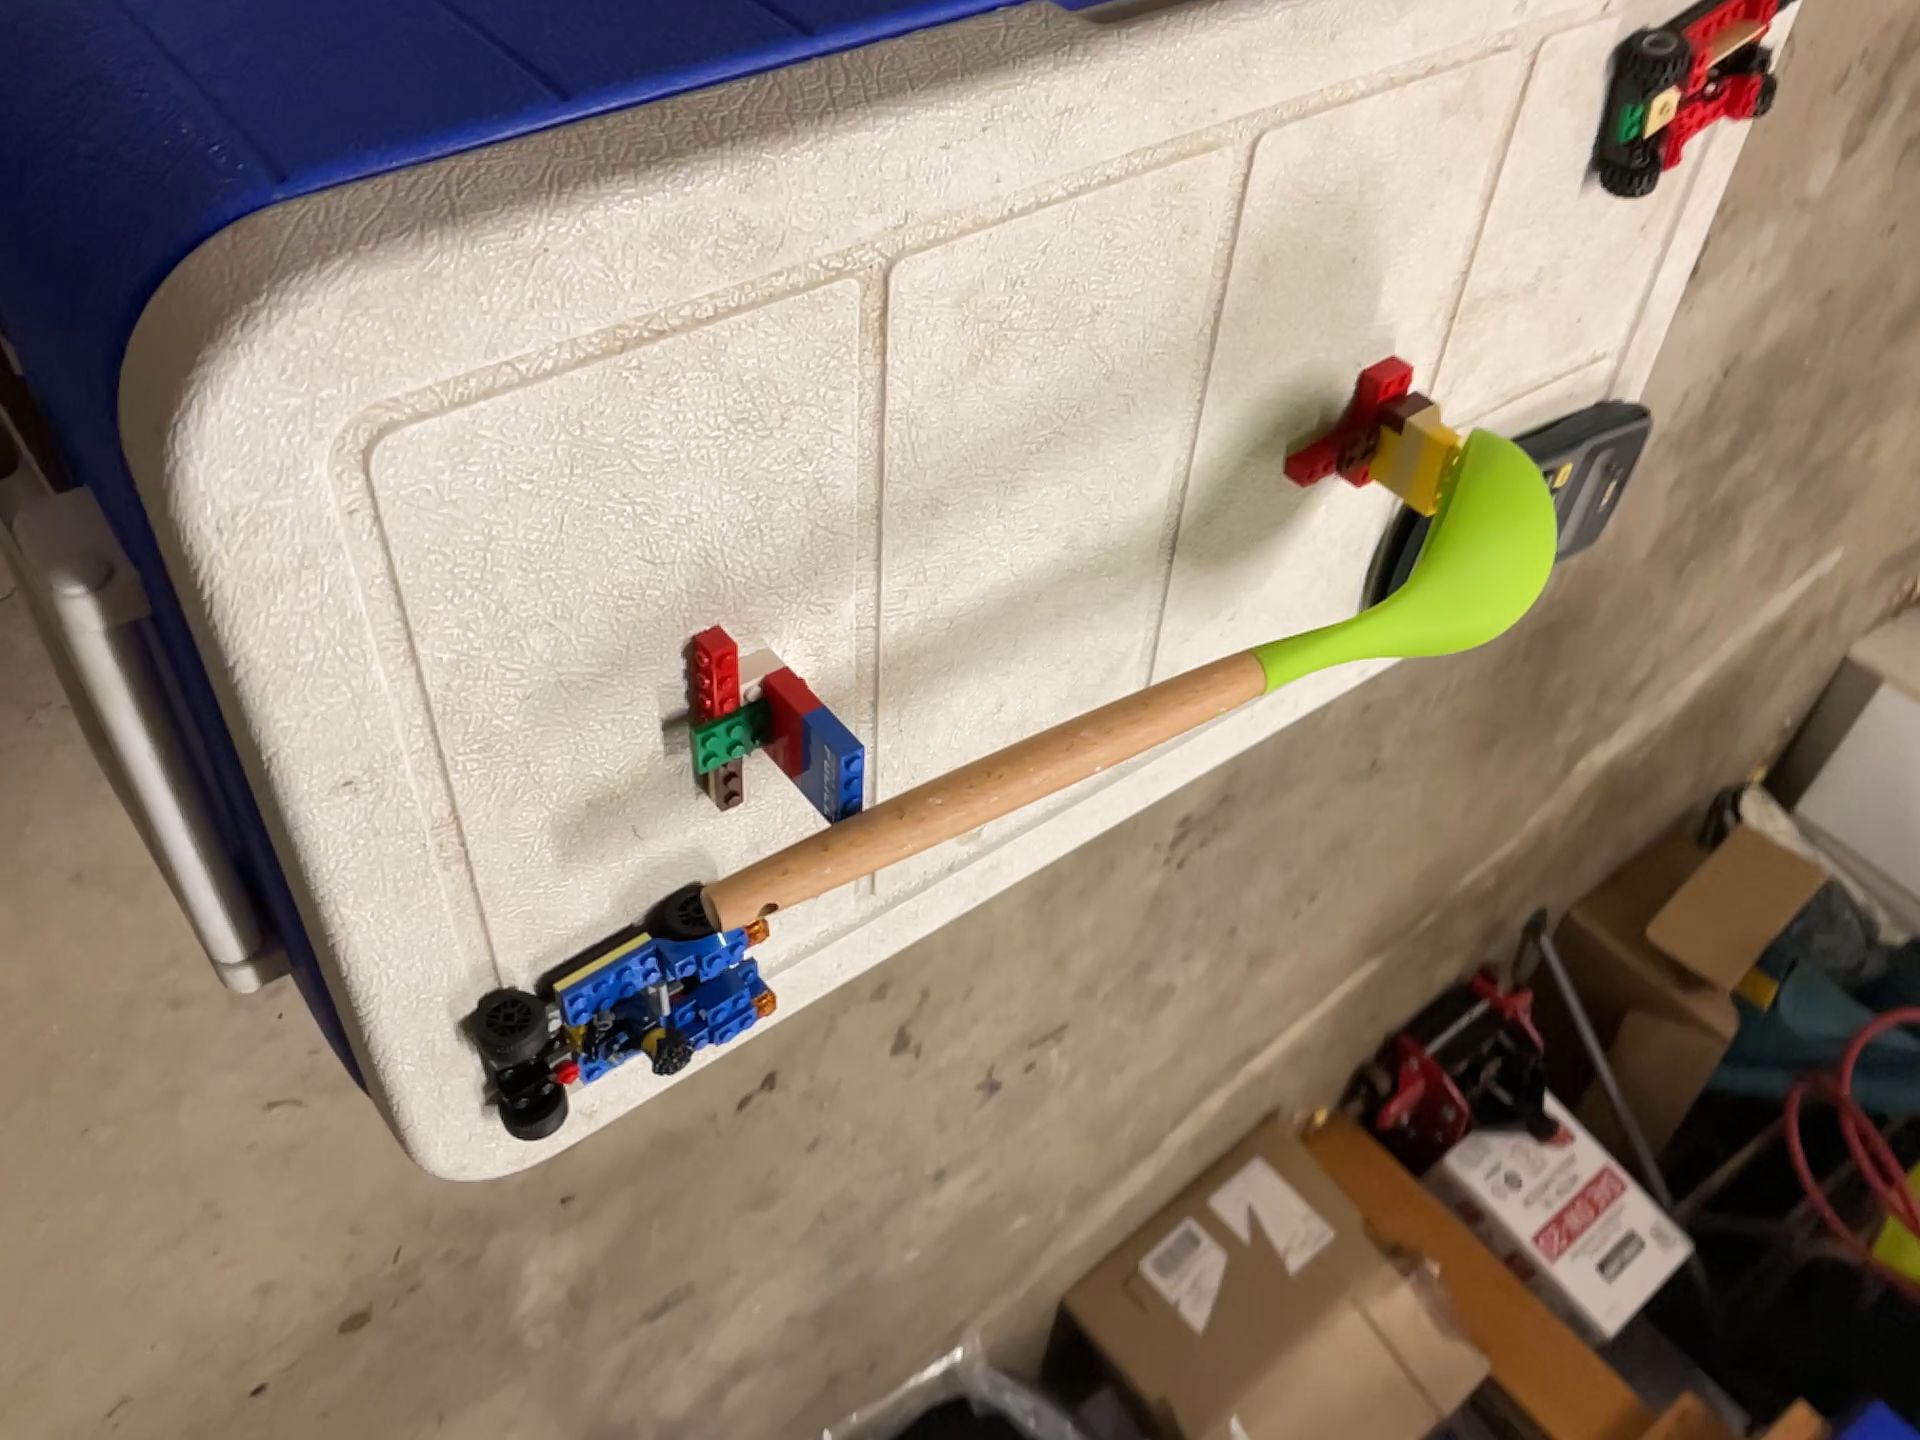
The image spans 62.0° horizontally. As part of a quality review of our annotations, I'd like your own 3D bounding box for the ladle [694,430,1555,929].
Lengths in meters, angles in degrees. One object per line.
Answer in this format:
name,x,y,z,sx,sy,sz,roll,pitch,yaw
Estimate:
ladle,0.062,-0.014,0.492,0.320,0.062,0.078,-22,147,-23
